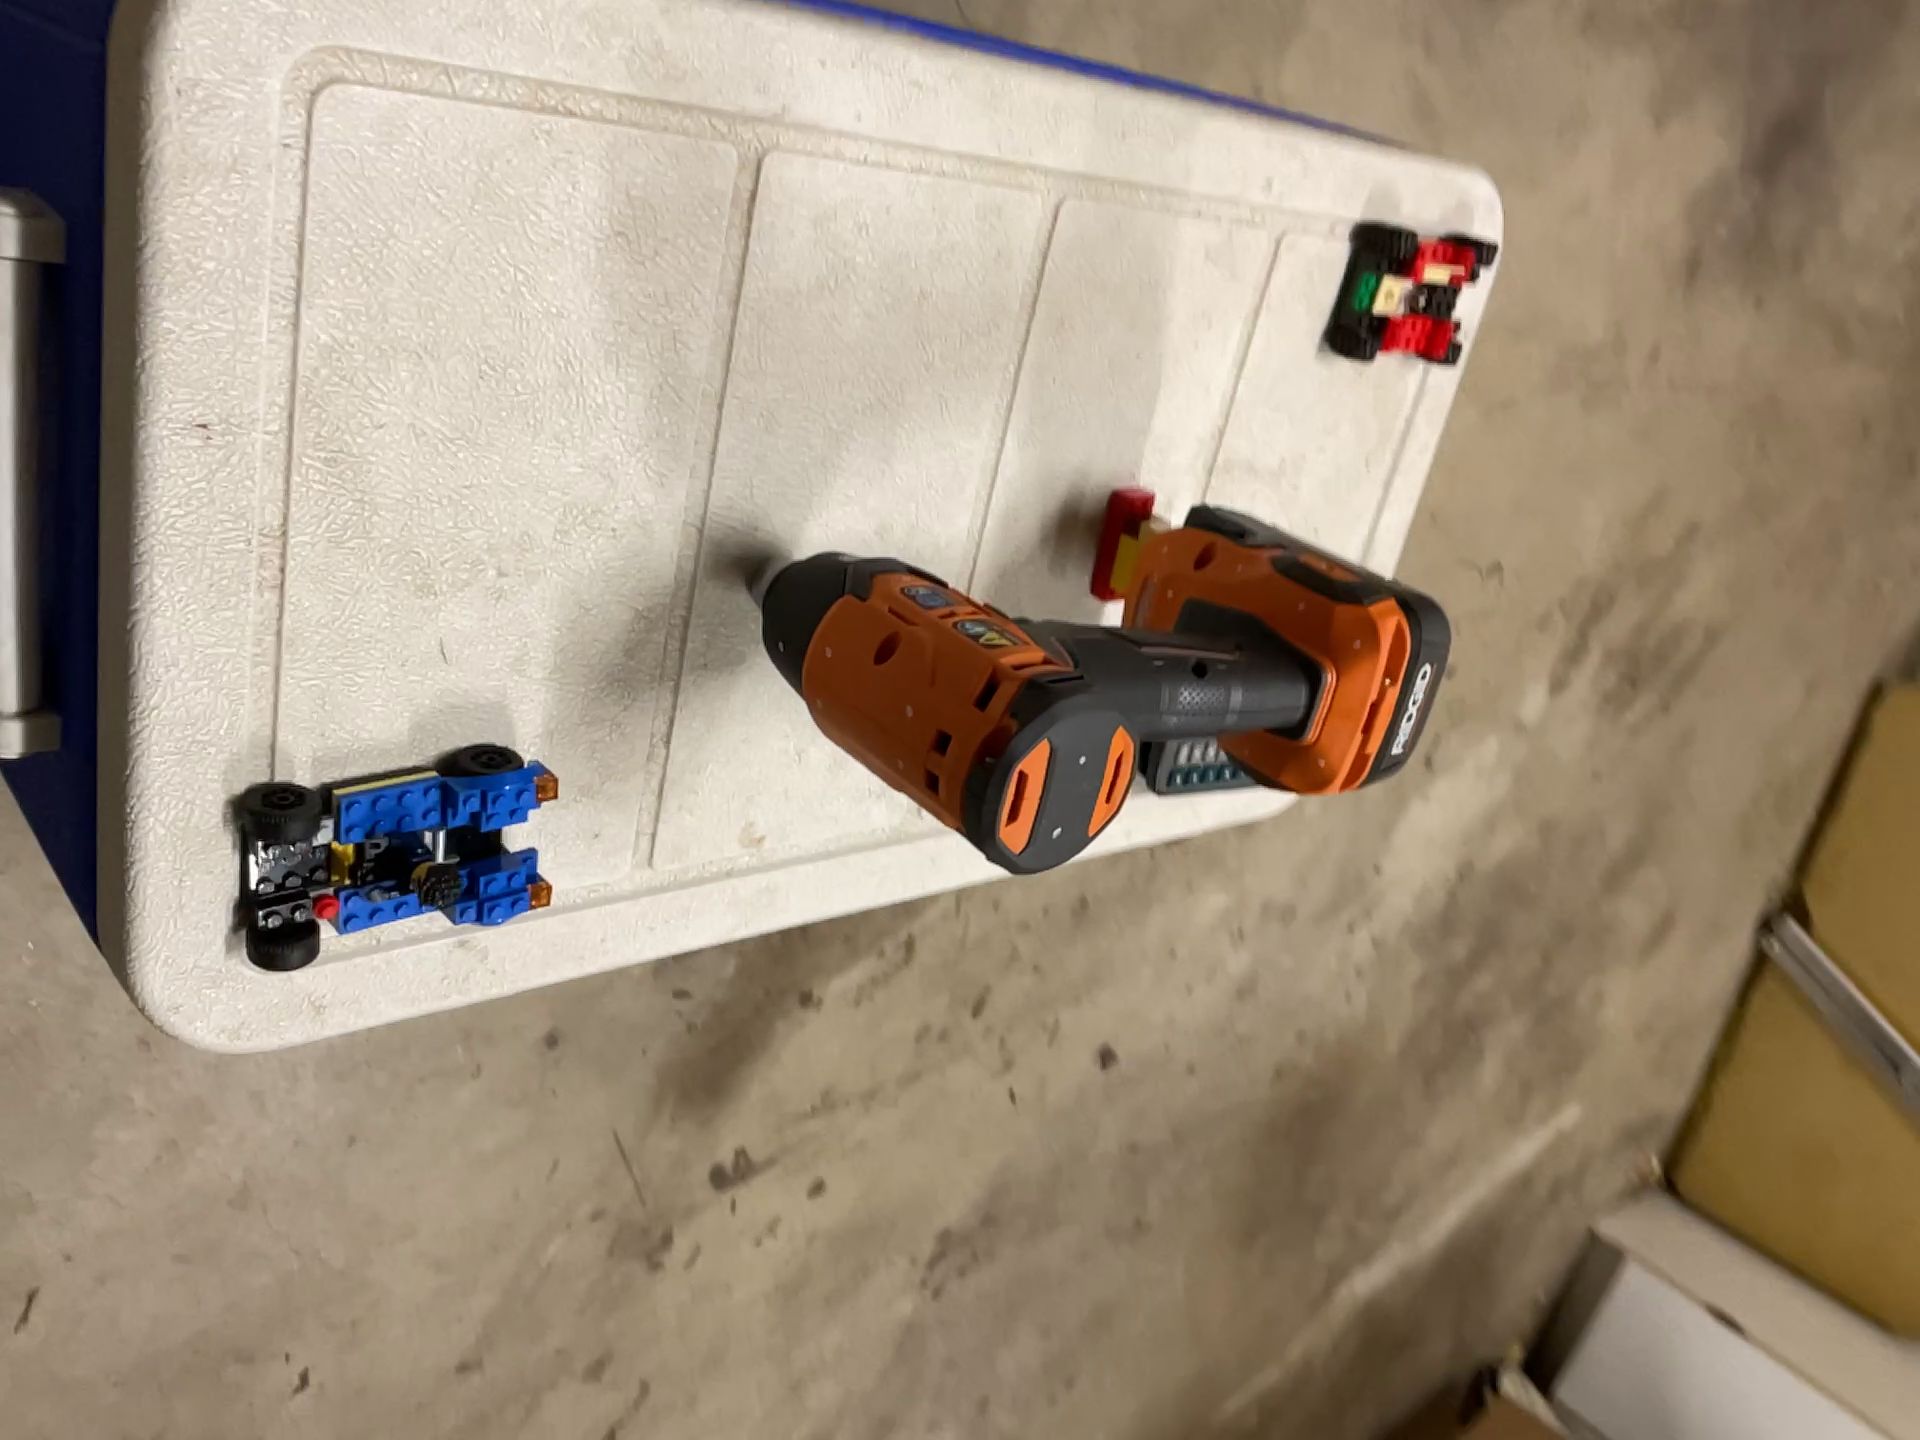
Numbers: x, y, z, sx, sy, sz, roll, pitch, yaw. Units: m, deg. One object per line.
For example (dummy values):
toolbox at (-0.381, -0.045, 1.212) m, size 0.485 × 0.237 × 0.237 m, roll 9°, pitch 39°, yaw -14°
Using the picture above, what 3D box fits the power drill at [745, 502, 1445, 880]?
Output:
power drill at (0.043, -0.024, 0.558) m, size 0.226 × 0.164 × 0.084 m, roll -9°, pitch 122°, yaw -40°
